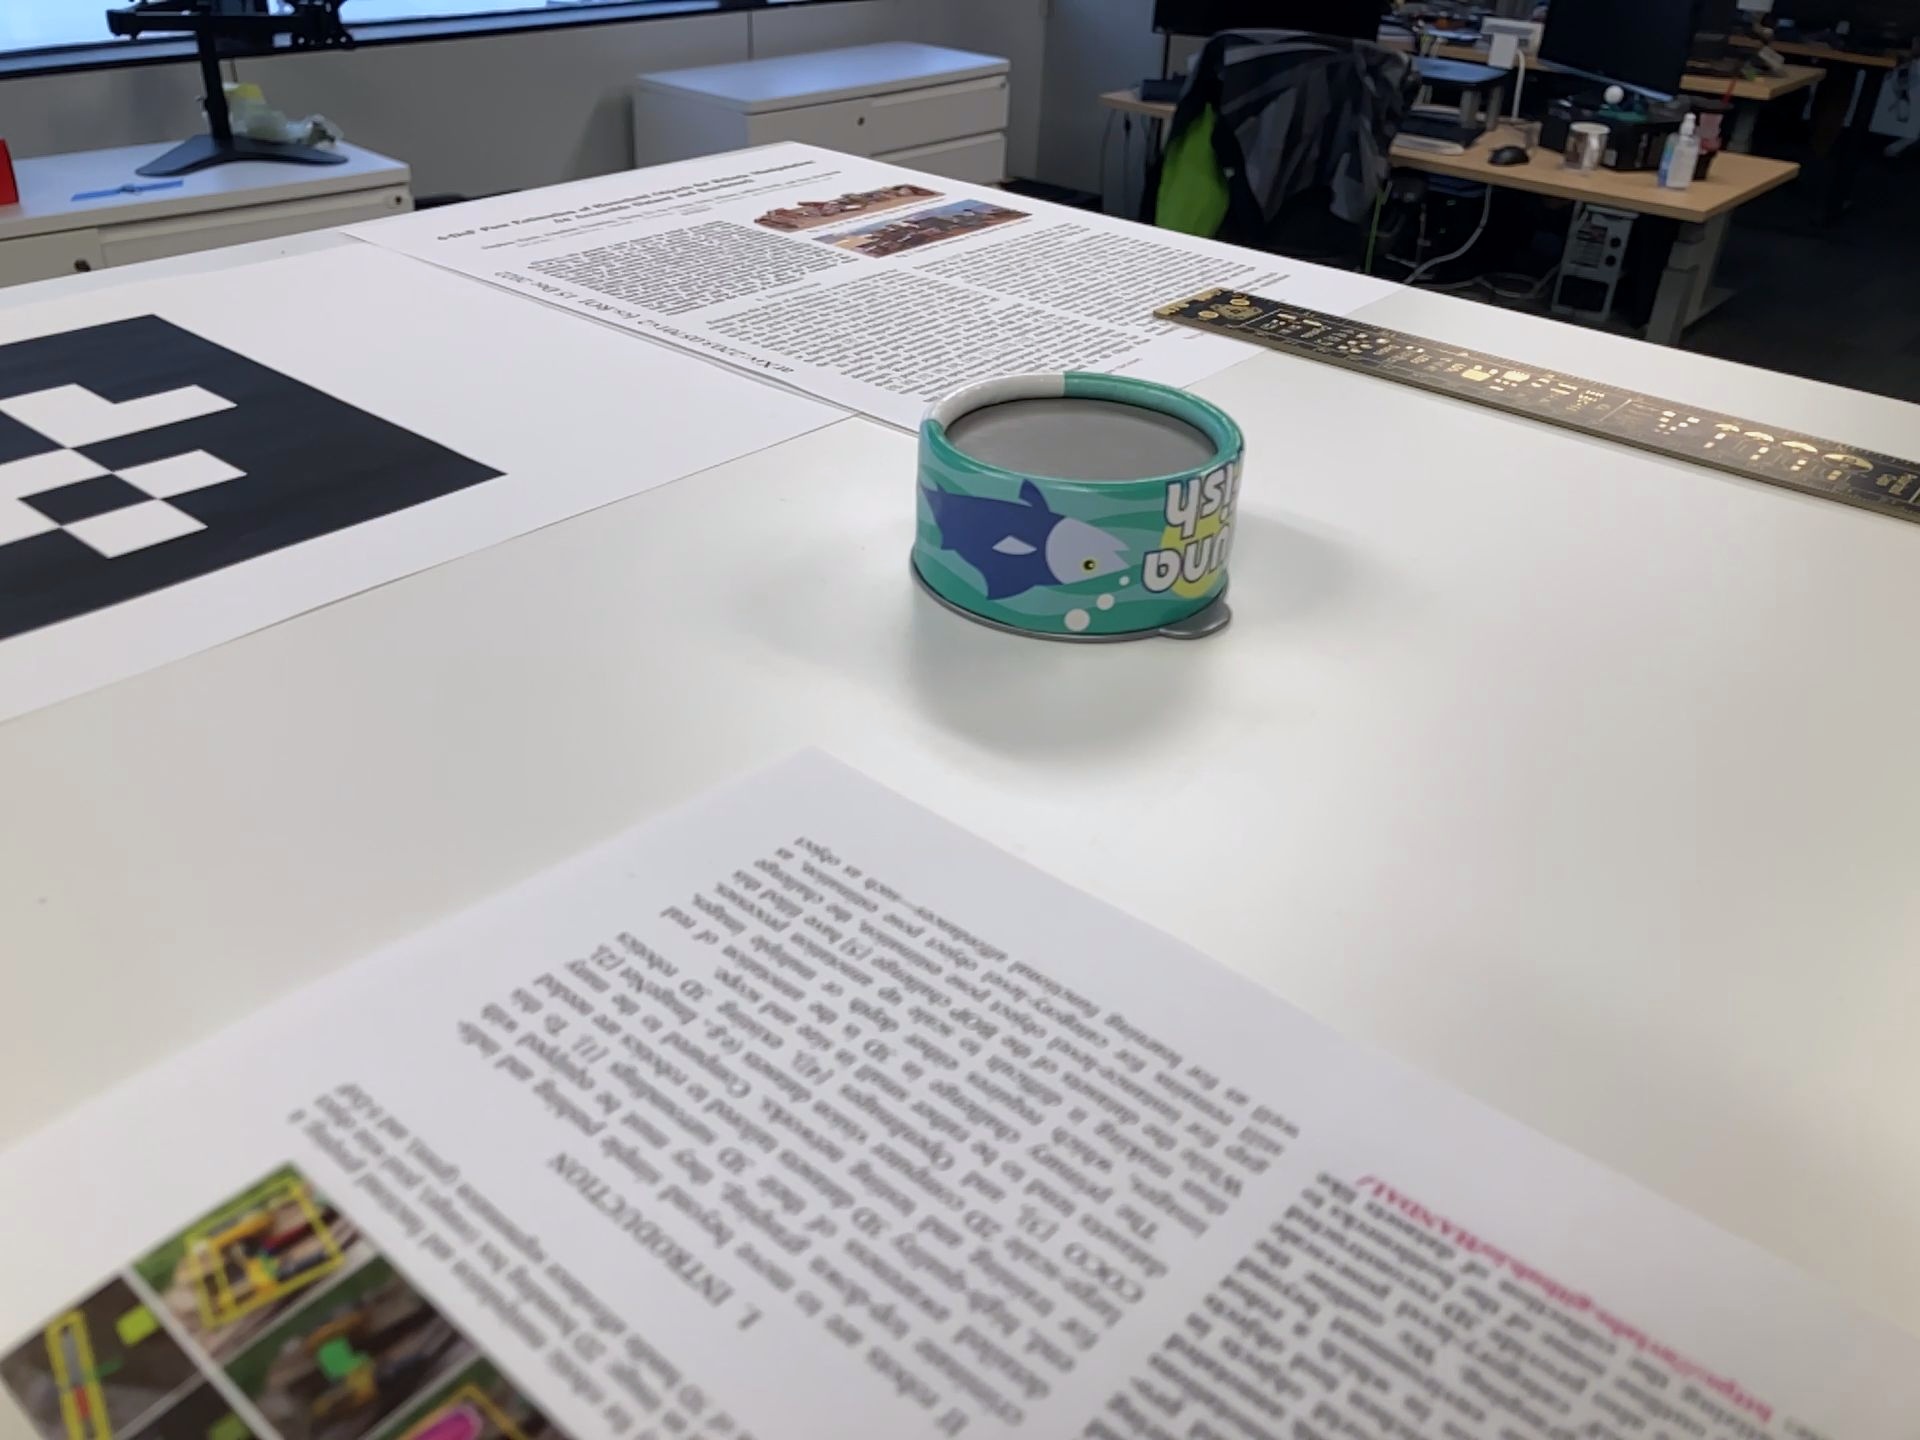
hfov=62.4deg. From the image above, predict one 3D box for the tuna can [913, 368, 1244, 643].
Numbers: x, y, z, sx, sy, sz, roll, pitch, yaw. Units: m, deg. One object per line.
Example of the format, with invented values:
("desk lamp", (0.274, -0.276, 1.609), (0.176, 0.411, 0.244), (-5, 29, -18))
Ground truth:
("tuna can", (0.026, -0.045, 0.324), (0.071, 0.033, 0.071), (2, 32, -1))
